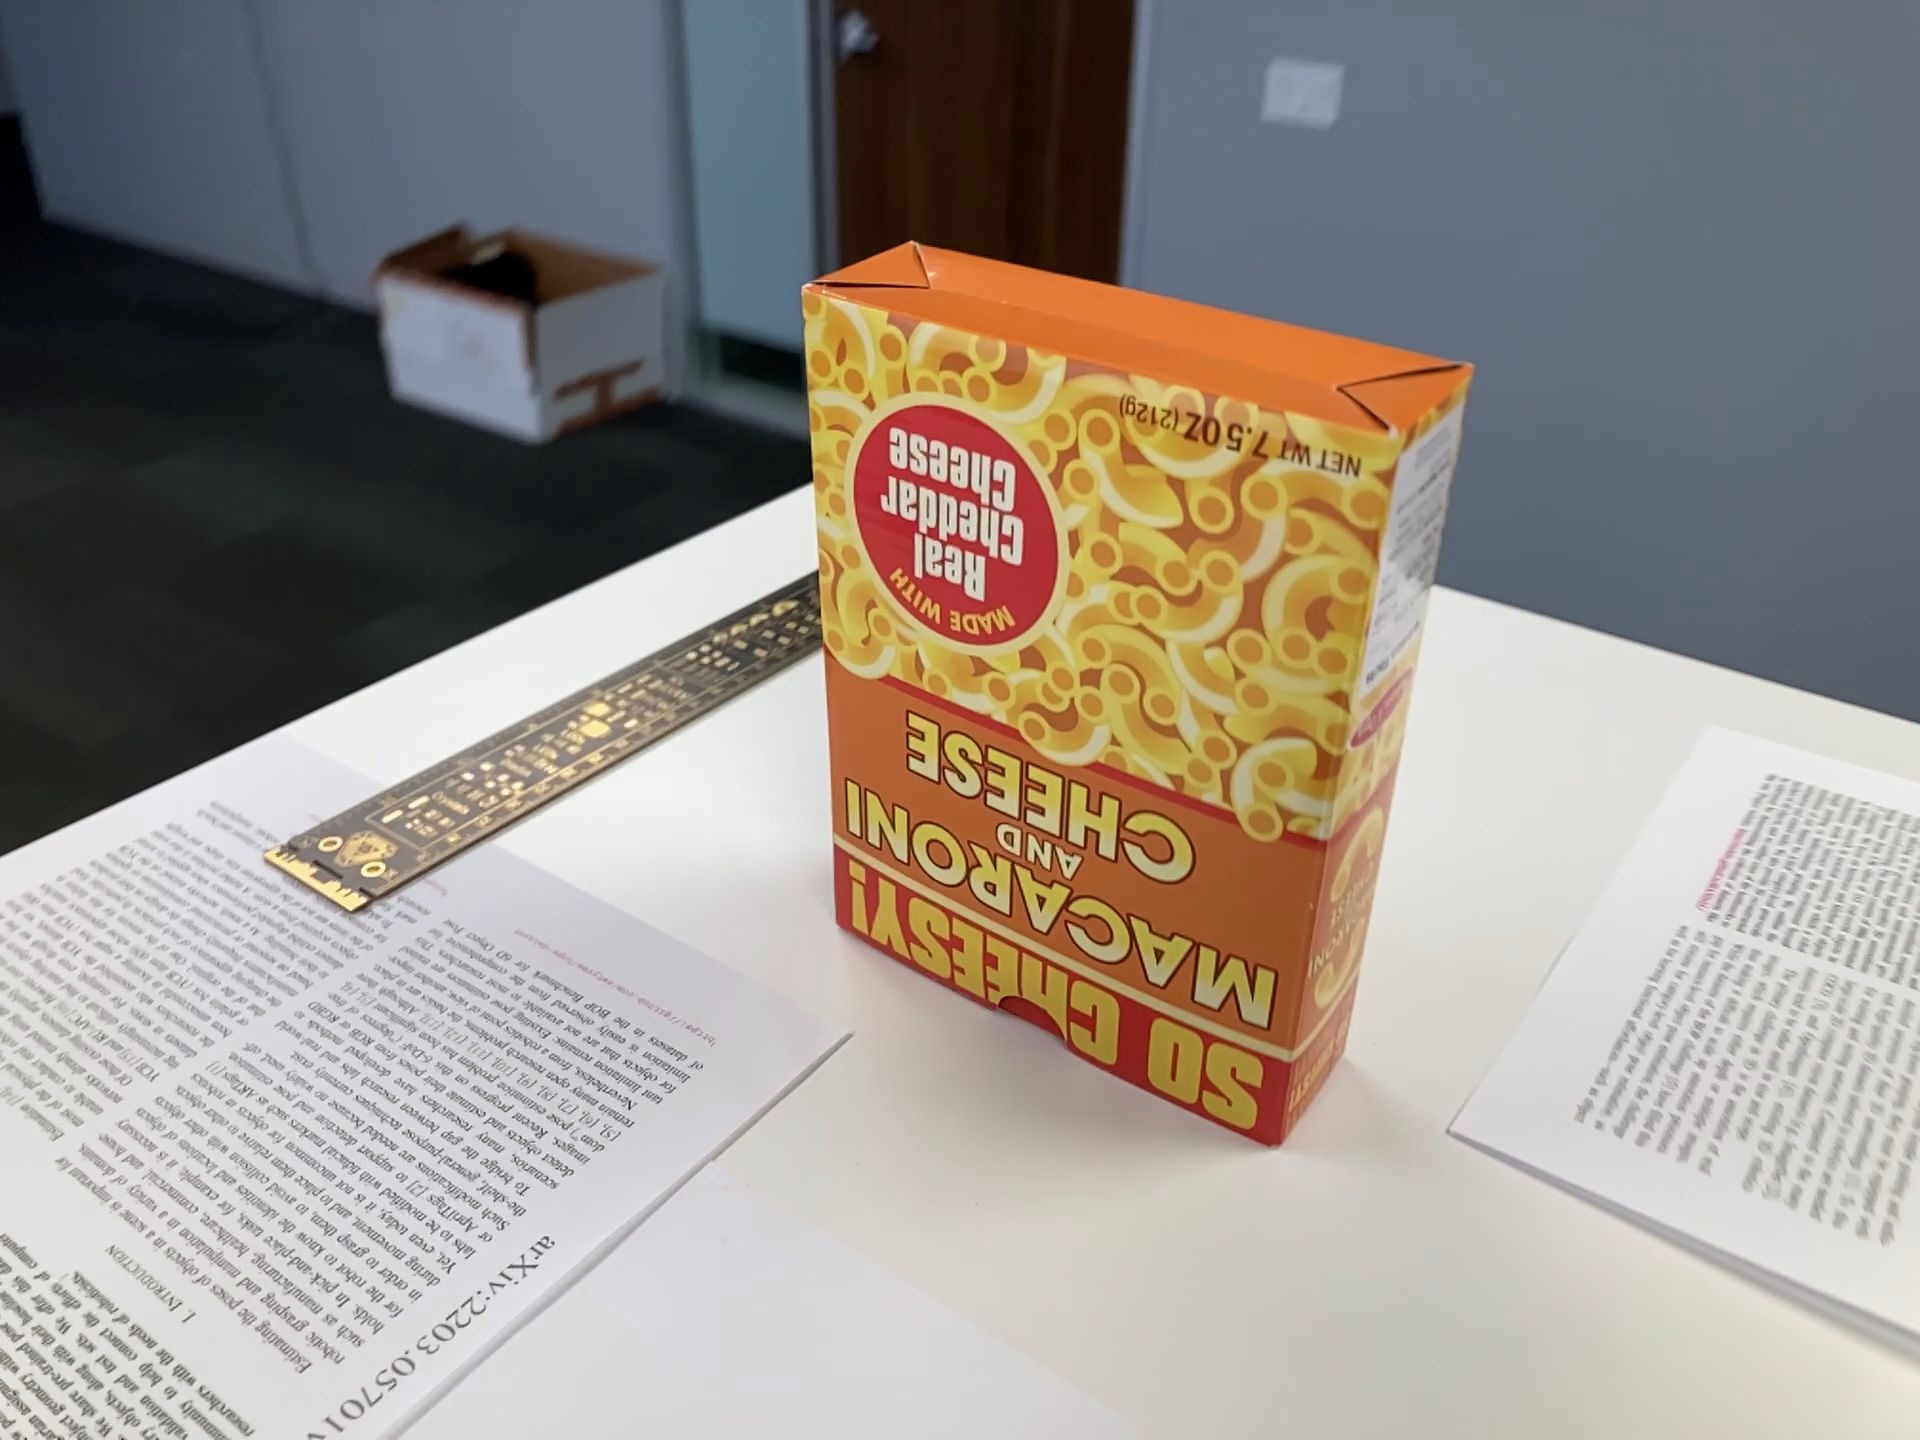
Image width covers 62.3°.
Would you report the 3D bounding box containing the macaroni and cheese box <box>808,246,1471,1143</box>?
[{"bbox_3d":[0.028,-0.003,0.340,0.124,0.166,0.040,22,39,29],"label":"macaroni and cheese box"}]
